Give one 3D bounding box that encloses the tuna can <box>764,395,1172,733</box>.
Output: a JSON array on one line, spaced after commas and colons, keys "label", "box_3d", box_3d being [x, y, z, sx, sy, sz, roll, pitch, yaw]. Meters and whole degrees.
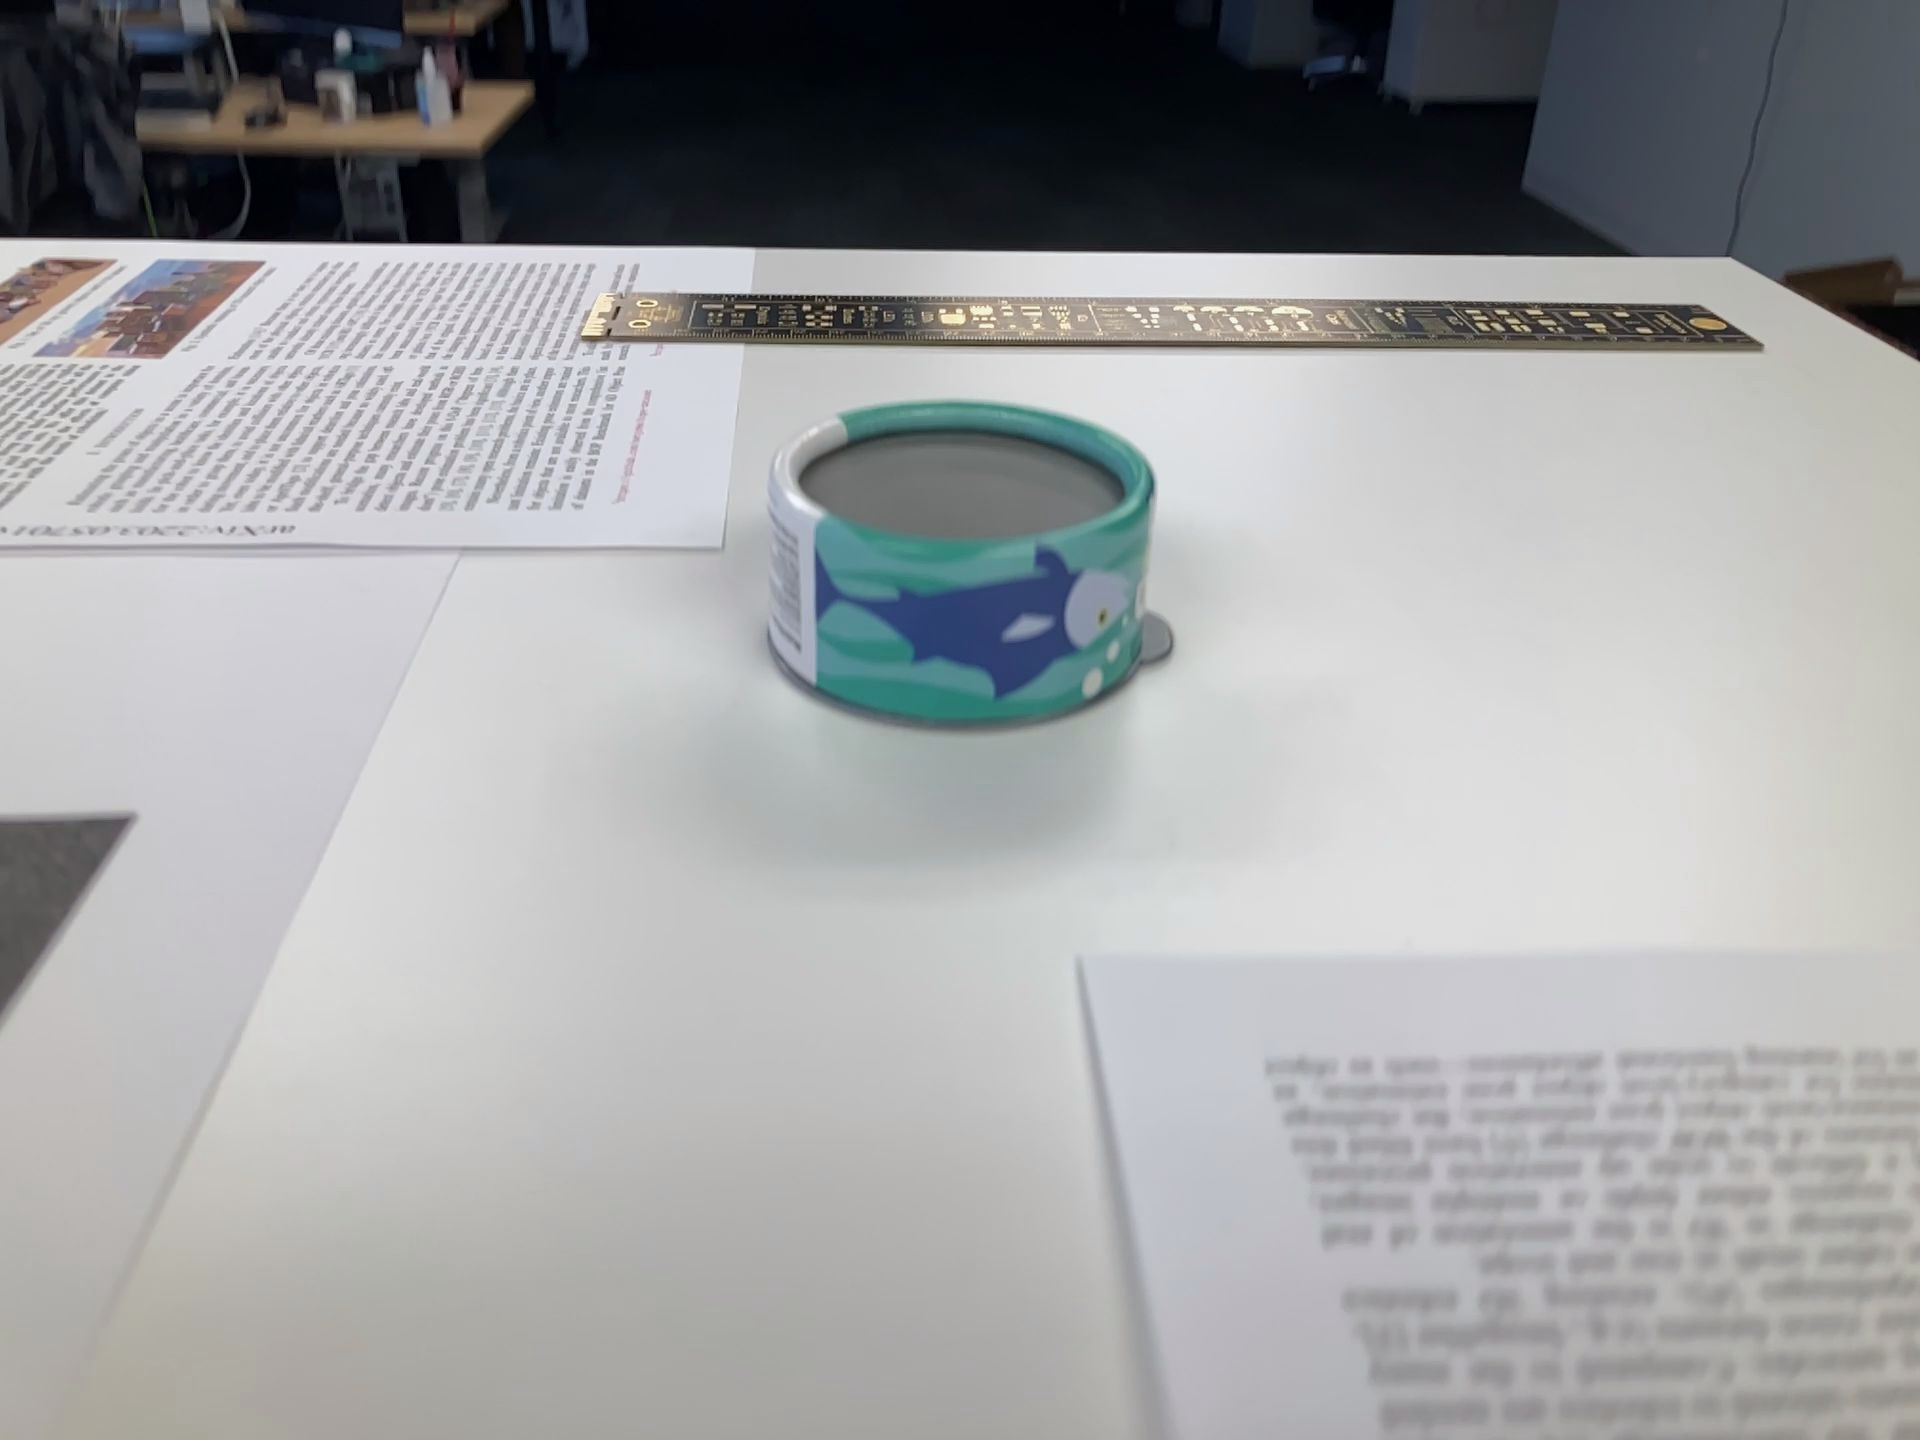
[{"label": "tuna can", "box_3d": [0.002, -0.029, 0.269, 0.071, 0.033, 0.071, 2, 32, -1]}]
